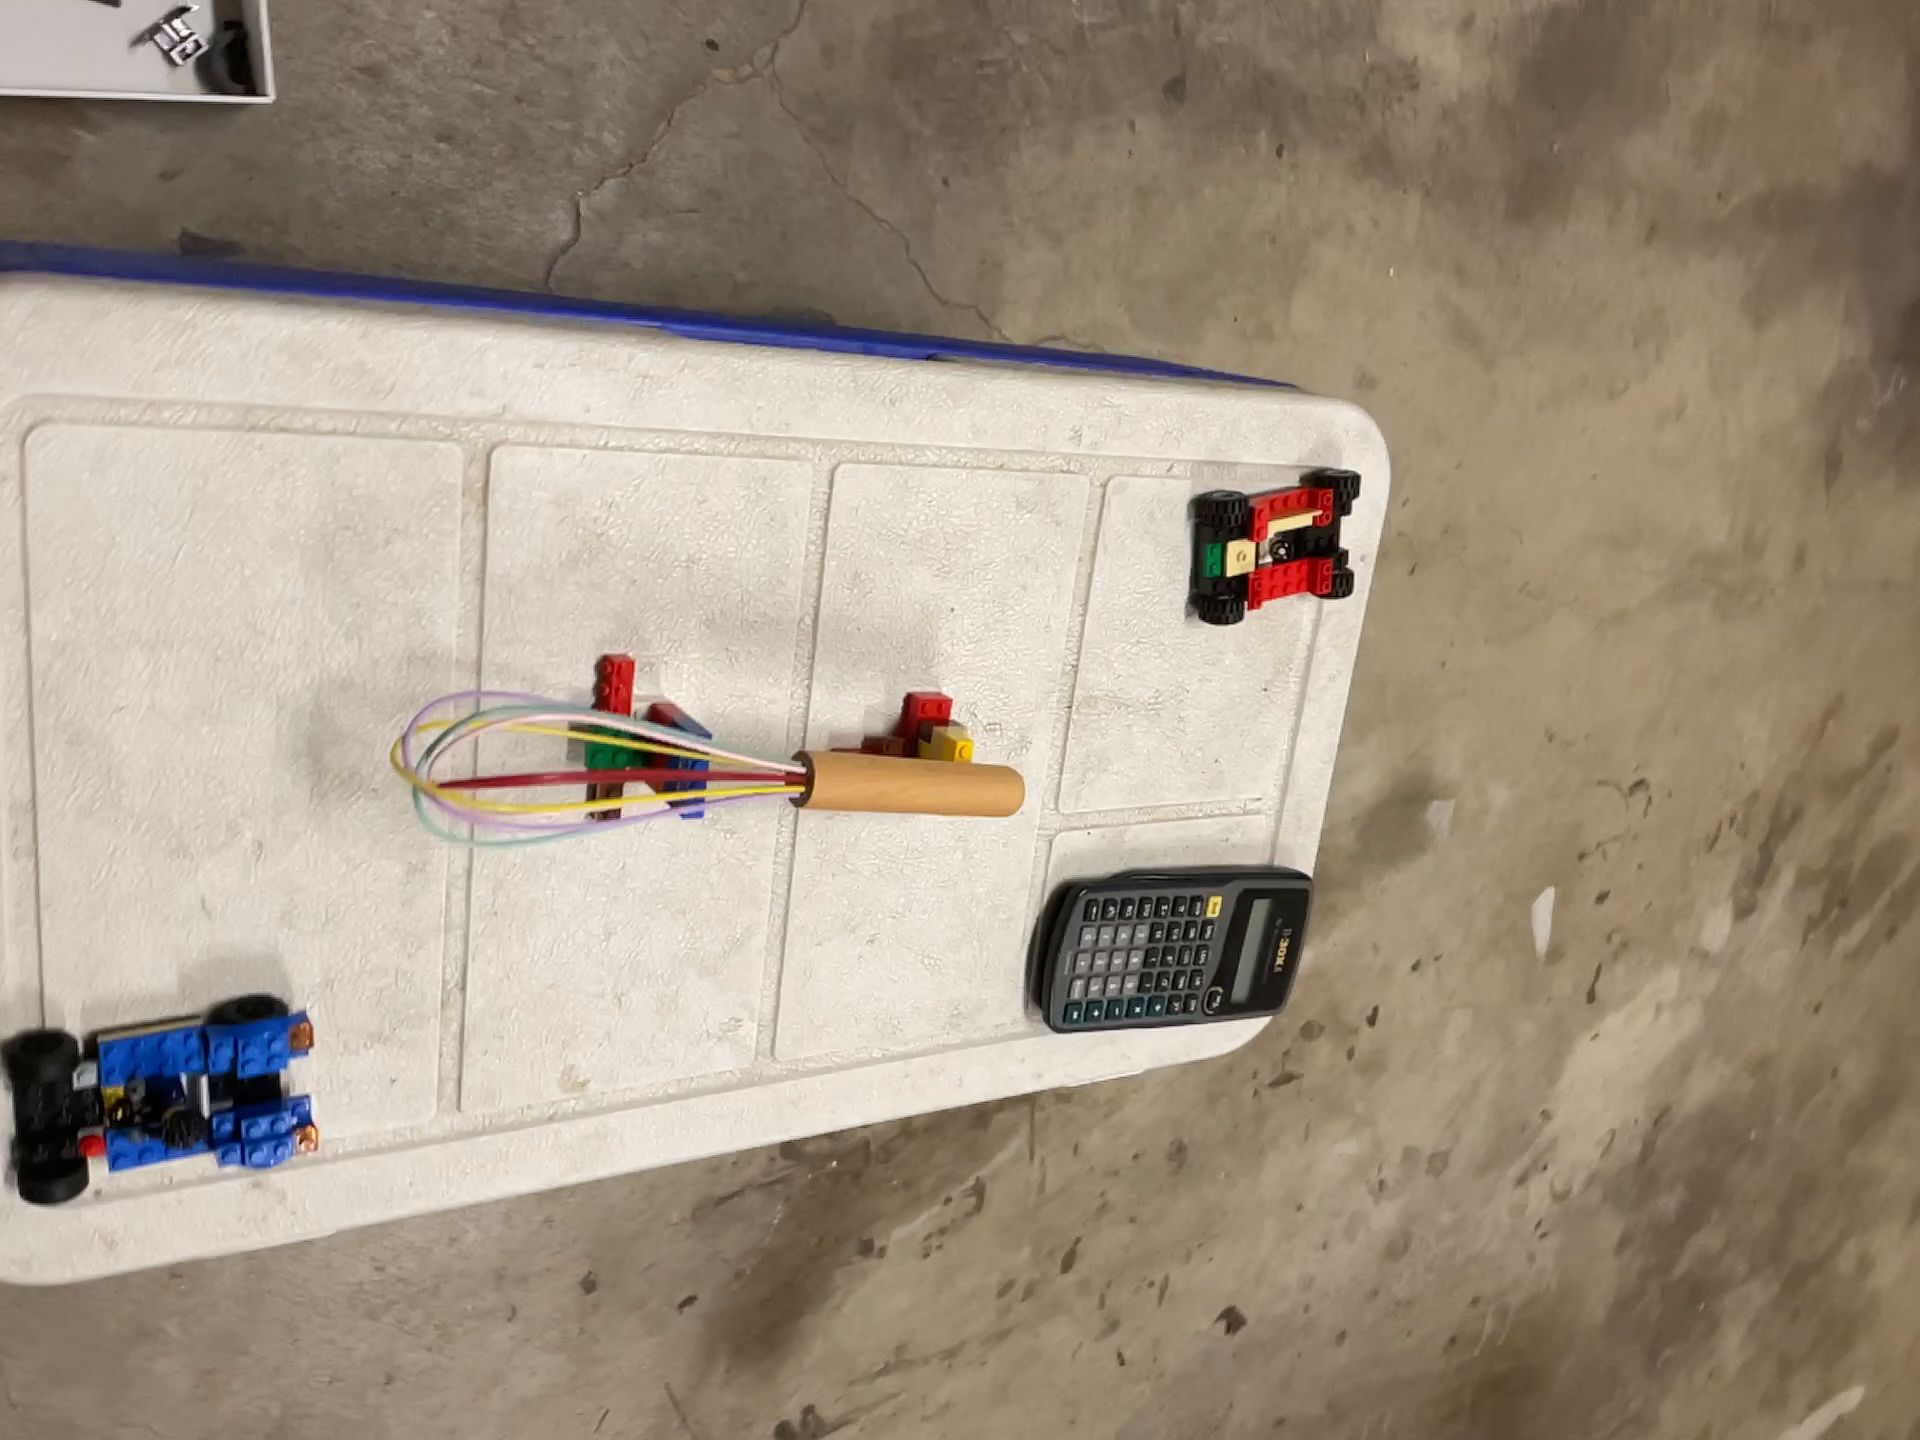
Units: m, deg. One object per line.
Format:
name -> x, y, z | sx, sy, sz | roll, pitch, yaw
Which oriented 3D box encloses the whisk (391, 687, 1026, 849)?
whisk -> -0.075, 0.023, 0.557 | 0.245, 0.047, 0.051 | 5, 92, -37
